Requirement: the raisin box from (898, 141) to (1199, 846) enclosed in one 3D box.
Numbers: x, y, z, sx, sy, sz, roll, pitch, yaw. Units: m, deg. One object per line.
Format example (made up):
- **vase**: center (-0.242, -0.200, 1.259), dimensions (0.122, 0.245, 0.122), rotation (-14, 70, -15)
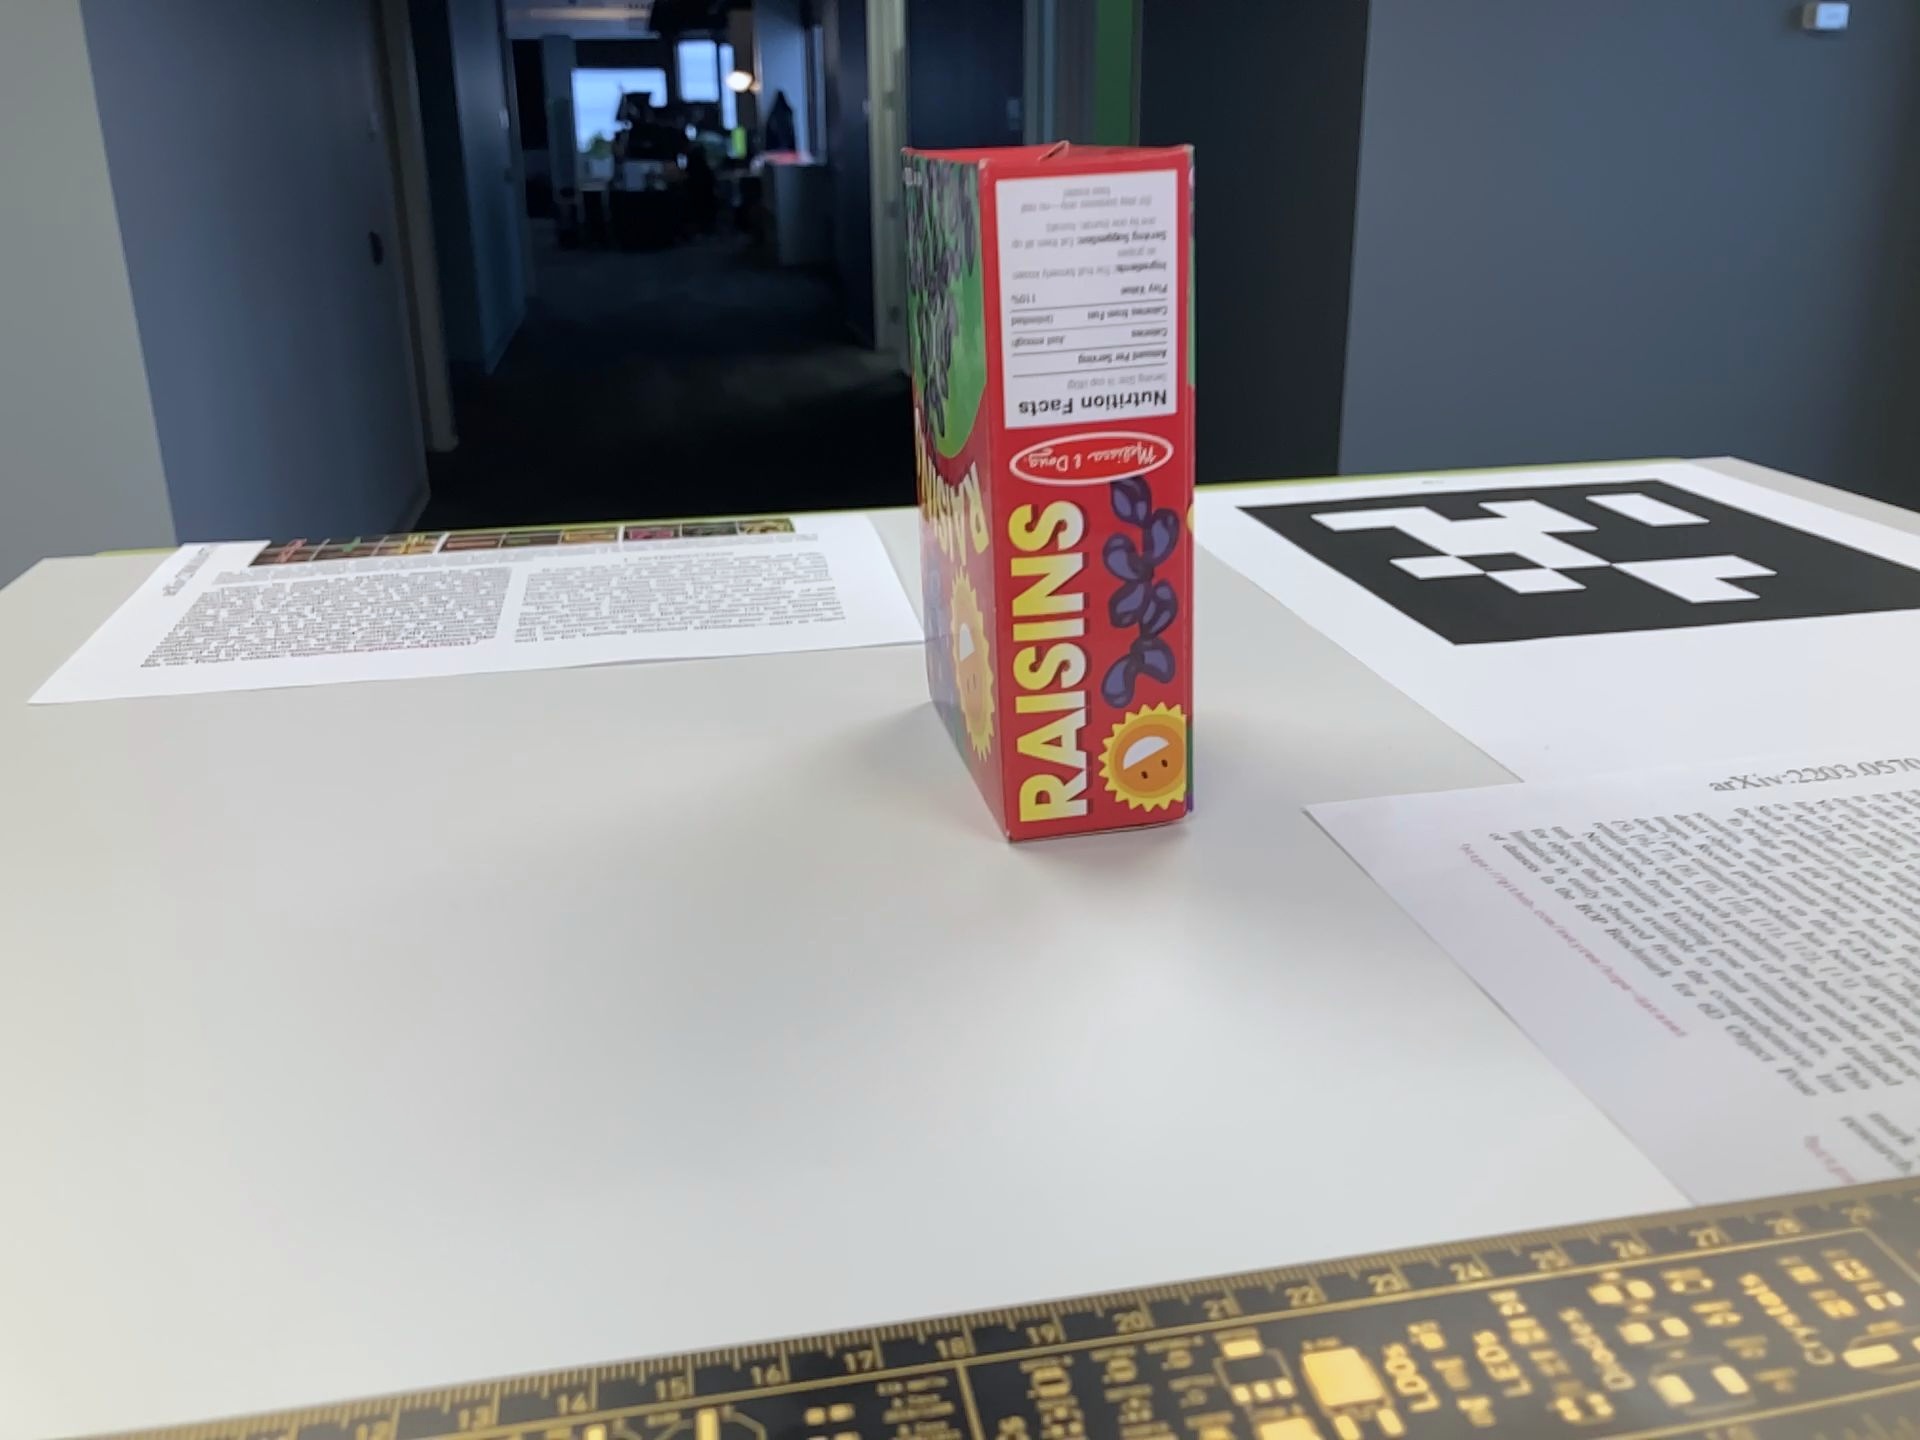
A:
- **raisin box**: center (0.016, -0.049, 0.315), dimensions (0.040, 0.123, 0.086), rotation (-7, 21, -10)
